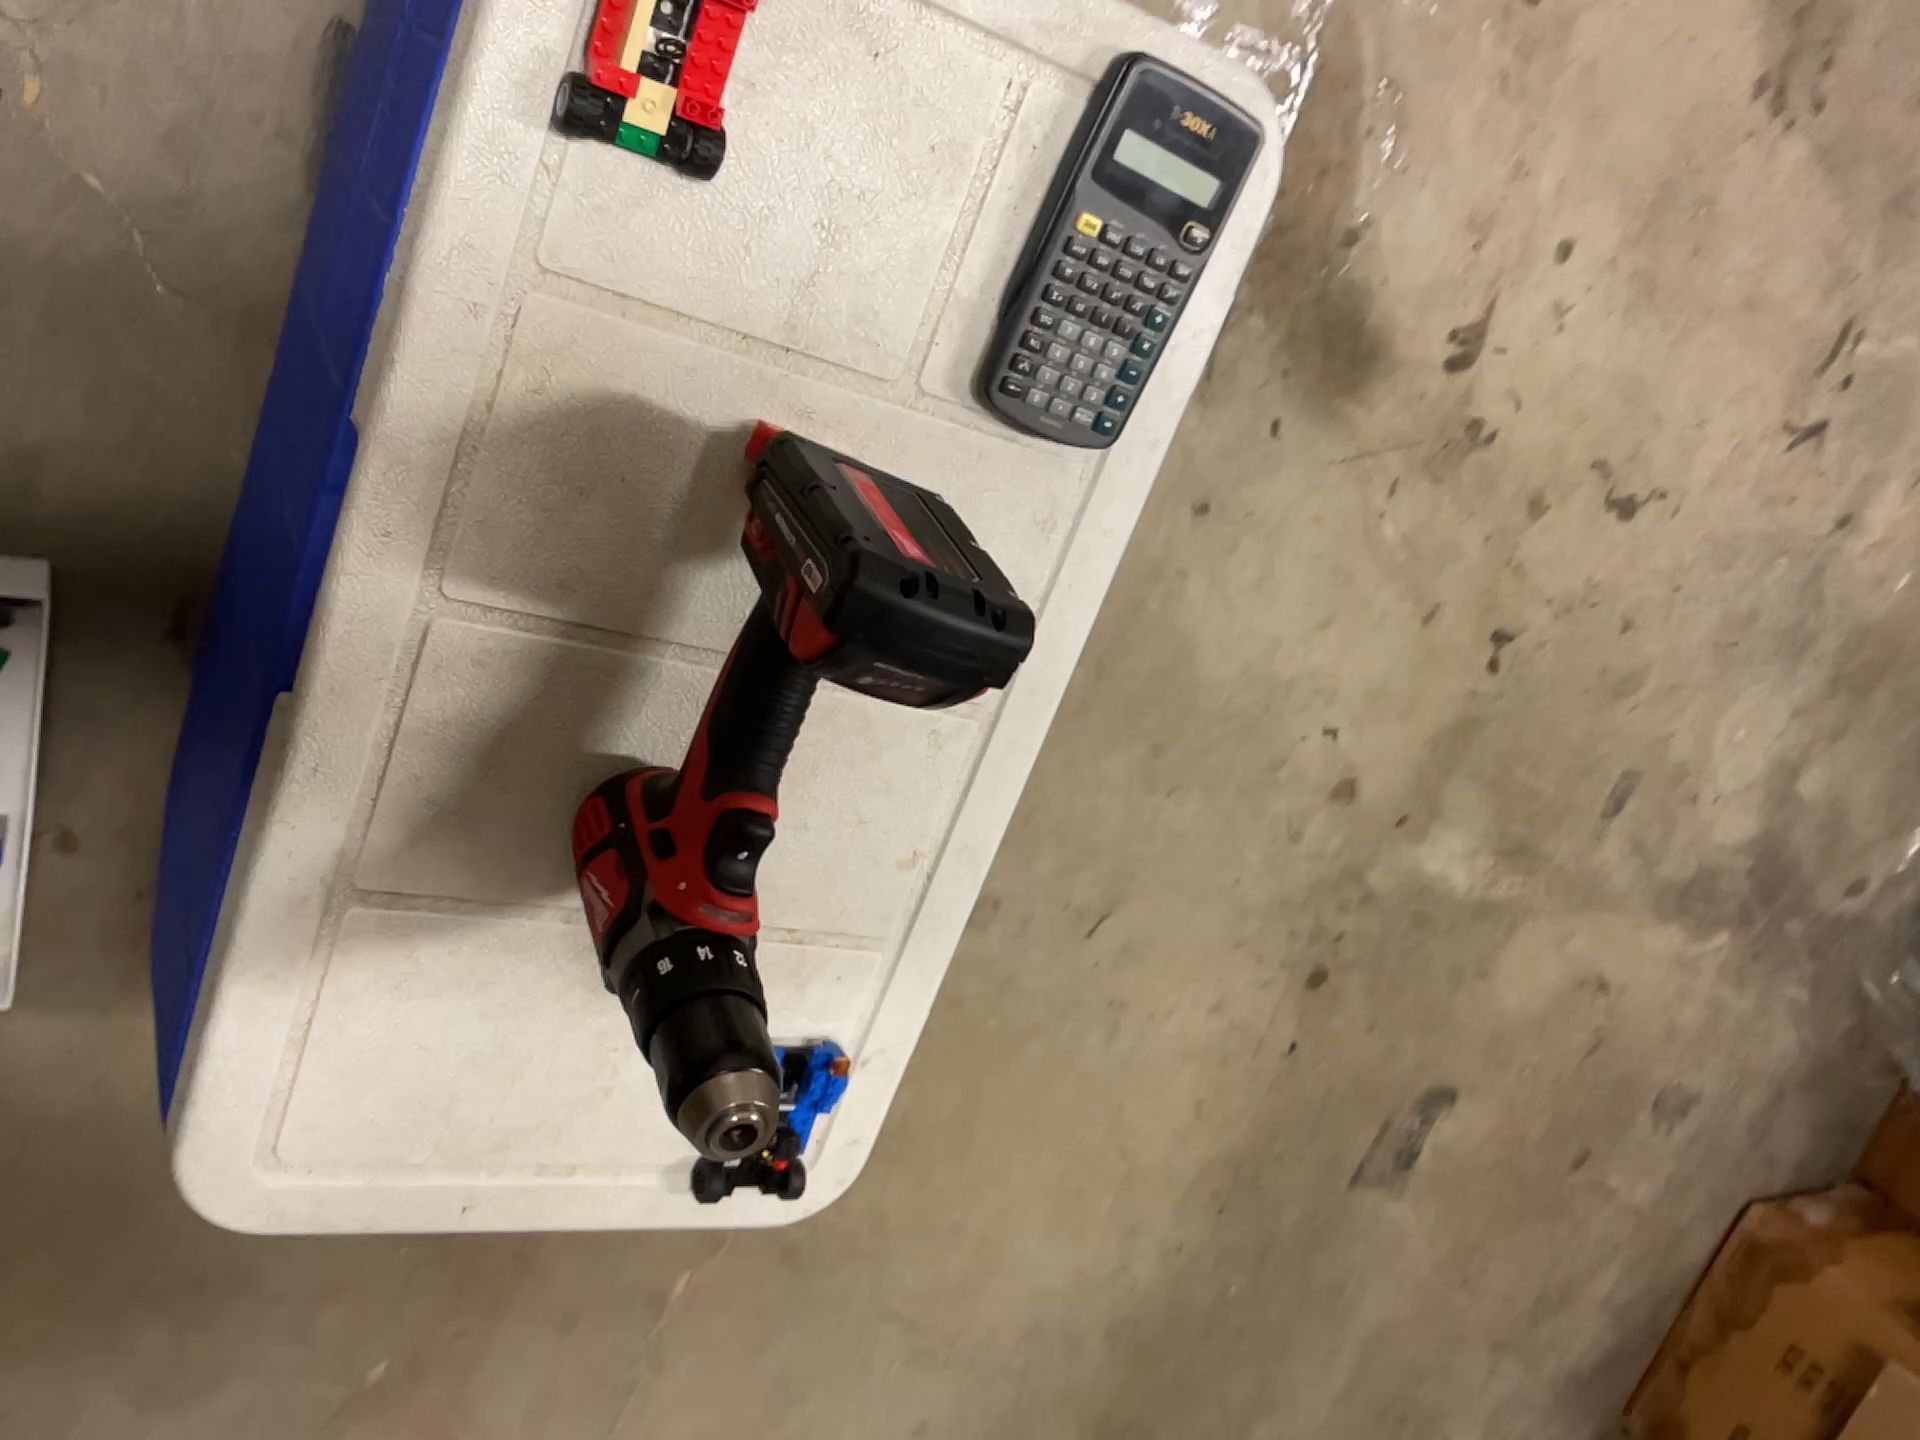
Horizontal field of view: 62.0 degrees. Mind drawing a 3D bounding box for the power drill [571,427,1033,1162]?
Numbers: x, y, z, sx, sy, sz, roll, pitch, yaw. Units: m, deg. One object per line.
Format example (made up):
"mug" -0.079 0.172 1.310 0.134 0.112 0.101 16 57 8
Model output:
"power drill" -0.068 0.029 0.593 0.080 0.188 0.226 18 115 -34
